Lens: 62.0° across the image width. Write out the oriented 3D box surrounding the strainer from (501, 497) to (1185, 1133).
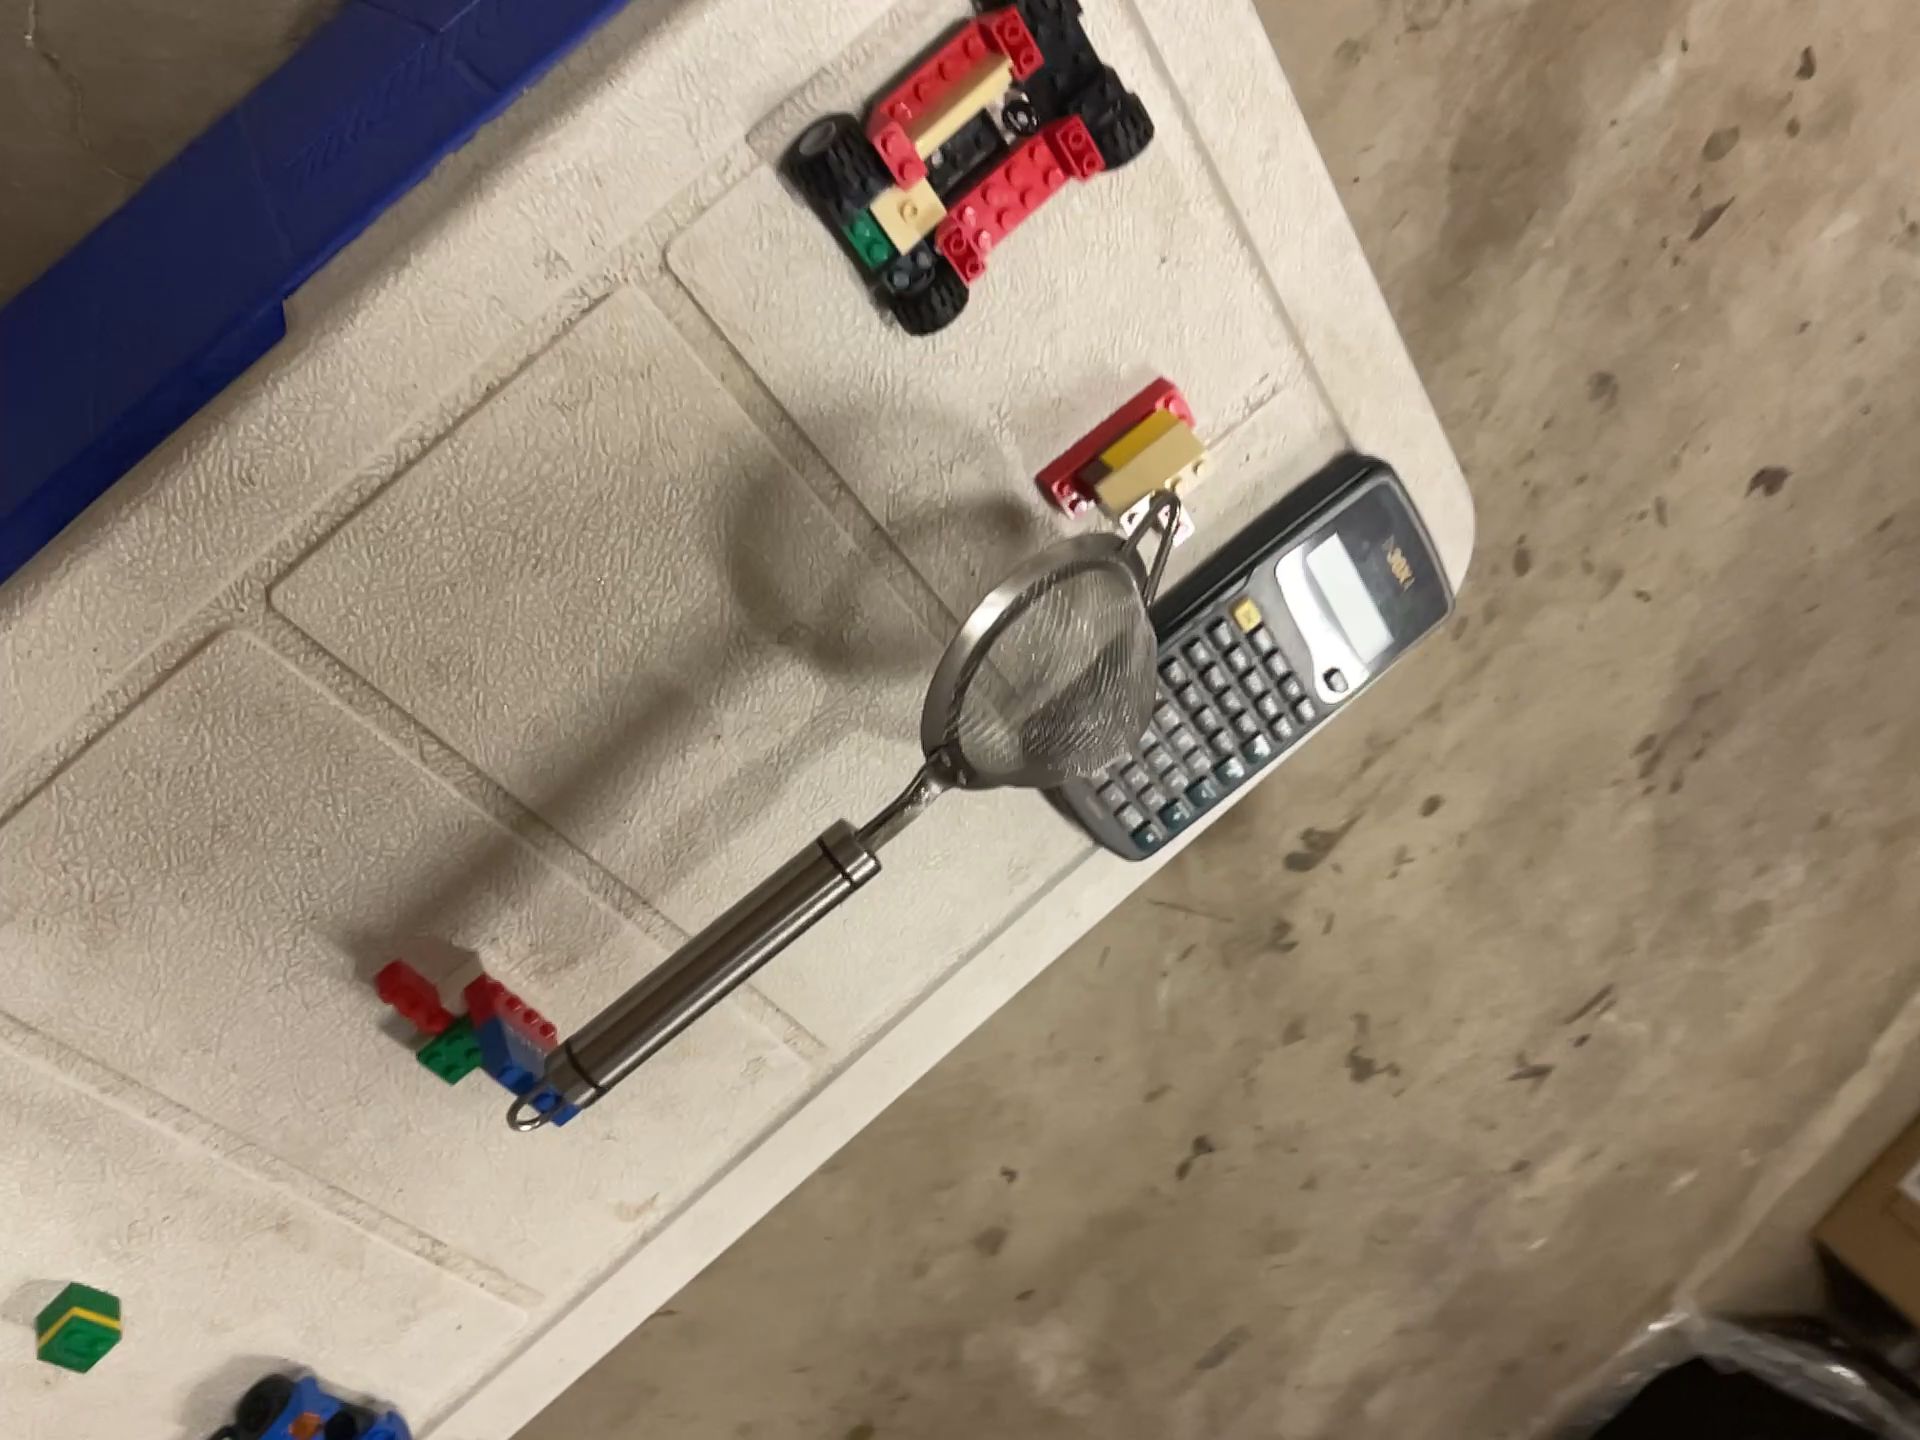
[{"bbox_3d":[-0.025,0.034,0.445,0.258,0.050,0.086,-39,146,1],"label":"strainer"}]
